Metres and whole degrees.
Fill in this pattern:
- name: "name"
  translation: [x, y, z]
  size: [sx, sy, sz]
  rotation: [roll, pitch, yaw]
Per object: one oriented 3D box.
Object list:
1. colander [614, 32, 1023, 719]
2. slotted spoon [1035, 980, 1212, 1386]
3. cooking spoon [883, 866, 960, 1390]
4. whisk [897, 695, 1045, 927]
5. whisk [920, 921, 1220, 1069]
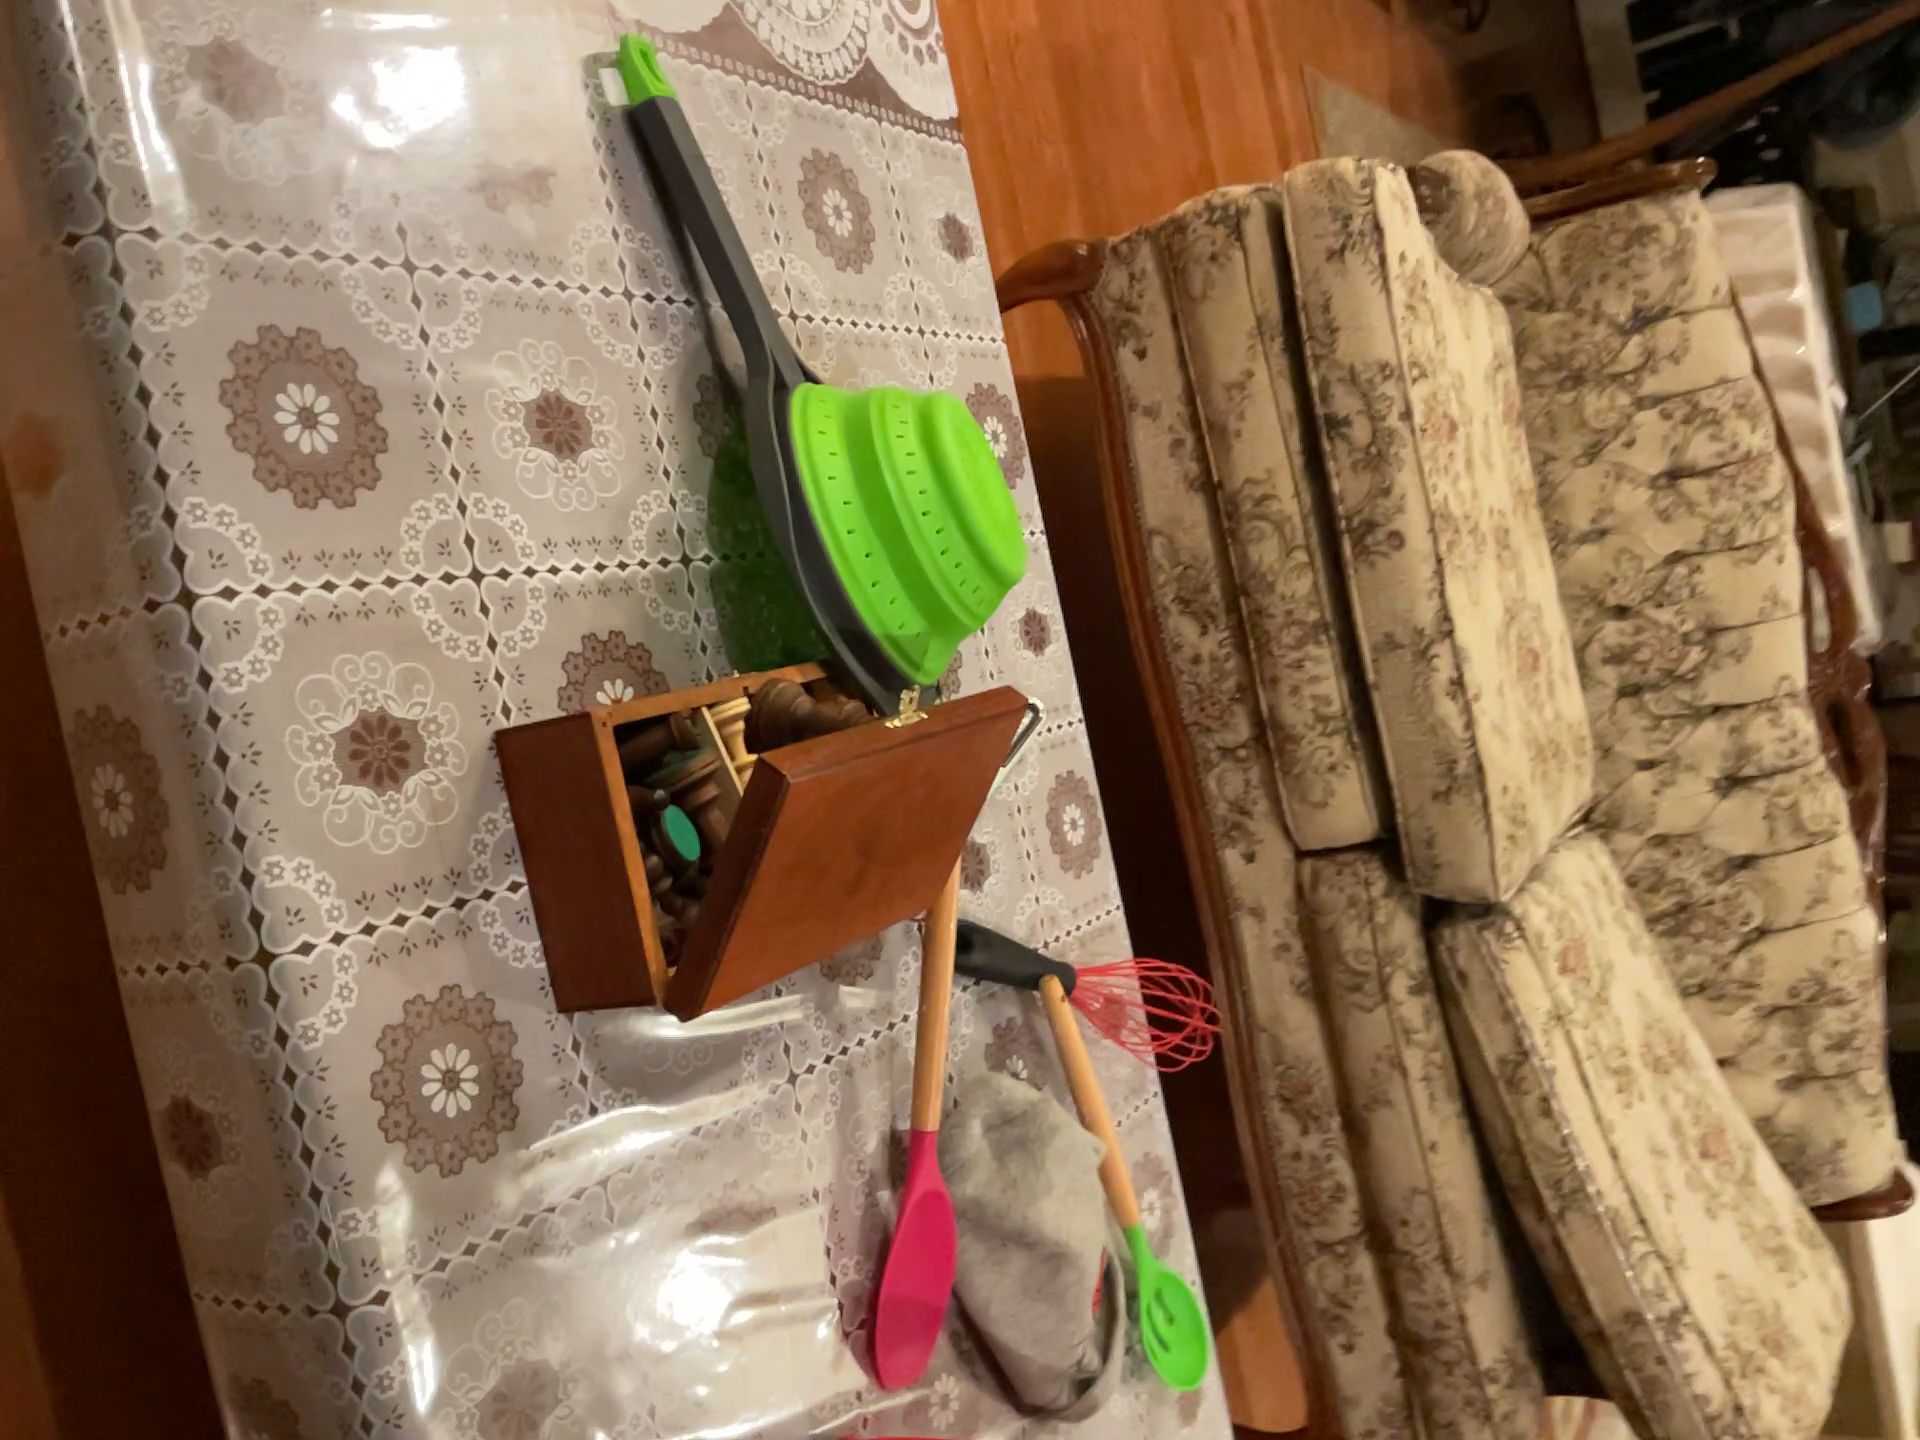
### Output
- name: "colander"
  translation: [-0.061, -0.182, 0.832]
  size: [0.397, 0.094, 0.204]
  rotation: [66, 15, -8]
- name: "slotted spoon"
  translation: [0.102, 0.299, 1.022]
  size: [0.070, 0.031, 0.313]
  rotation: [-46, 121, -51]
- name: "cooking spoon"
  translation: [-0.017, 0.194, 0.851]
  size: [0.068, 0.017, 0.319]
  rotation: [6, 87, -57]
- name: "whisk"
  translation: [-0.002, 0.046, 0.949]
  size: [0.246, 0.059, 0.057]
  rotation: [-49, 163, -53]
- name: "whisk"
  translation: [0.078, 0.171, 1.018]
  size: [0.295, 0.073, 0.073]
  rotation: [25, 67, -44]
